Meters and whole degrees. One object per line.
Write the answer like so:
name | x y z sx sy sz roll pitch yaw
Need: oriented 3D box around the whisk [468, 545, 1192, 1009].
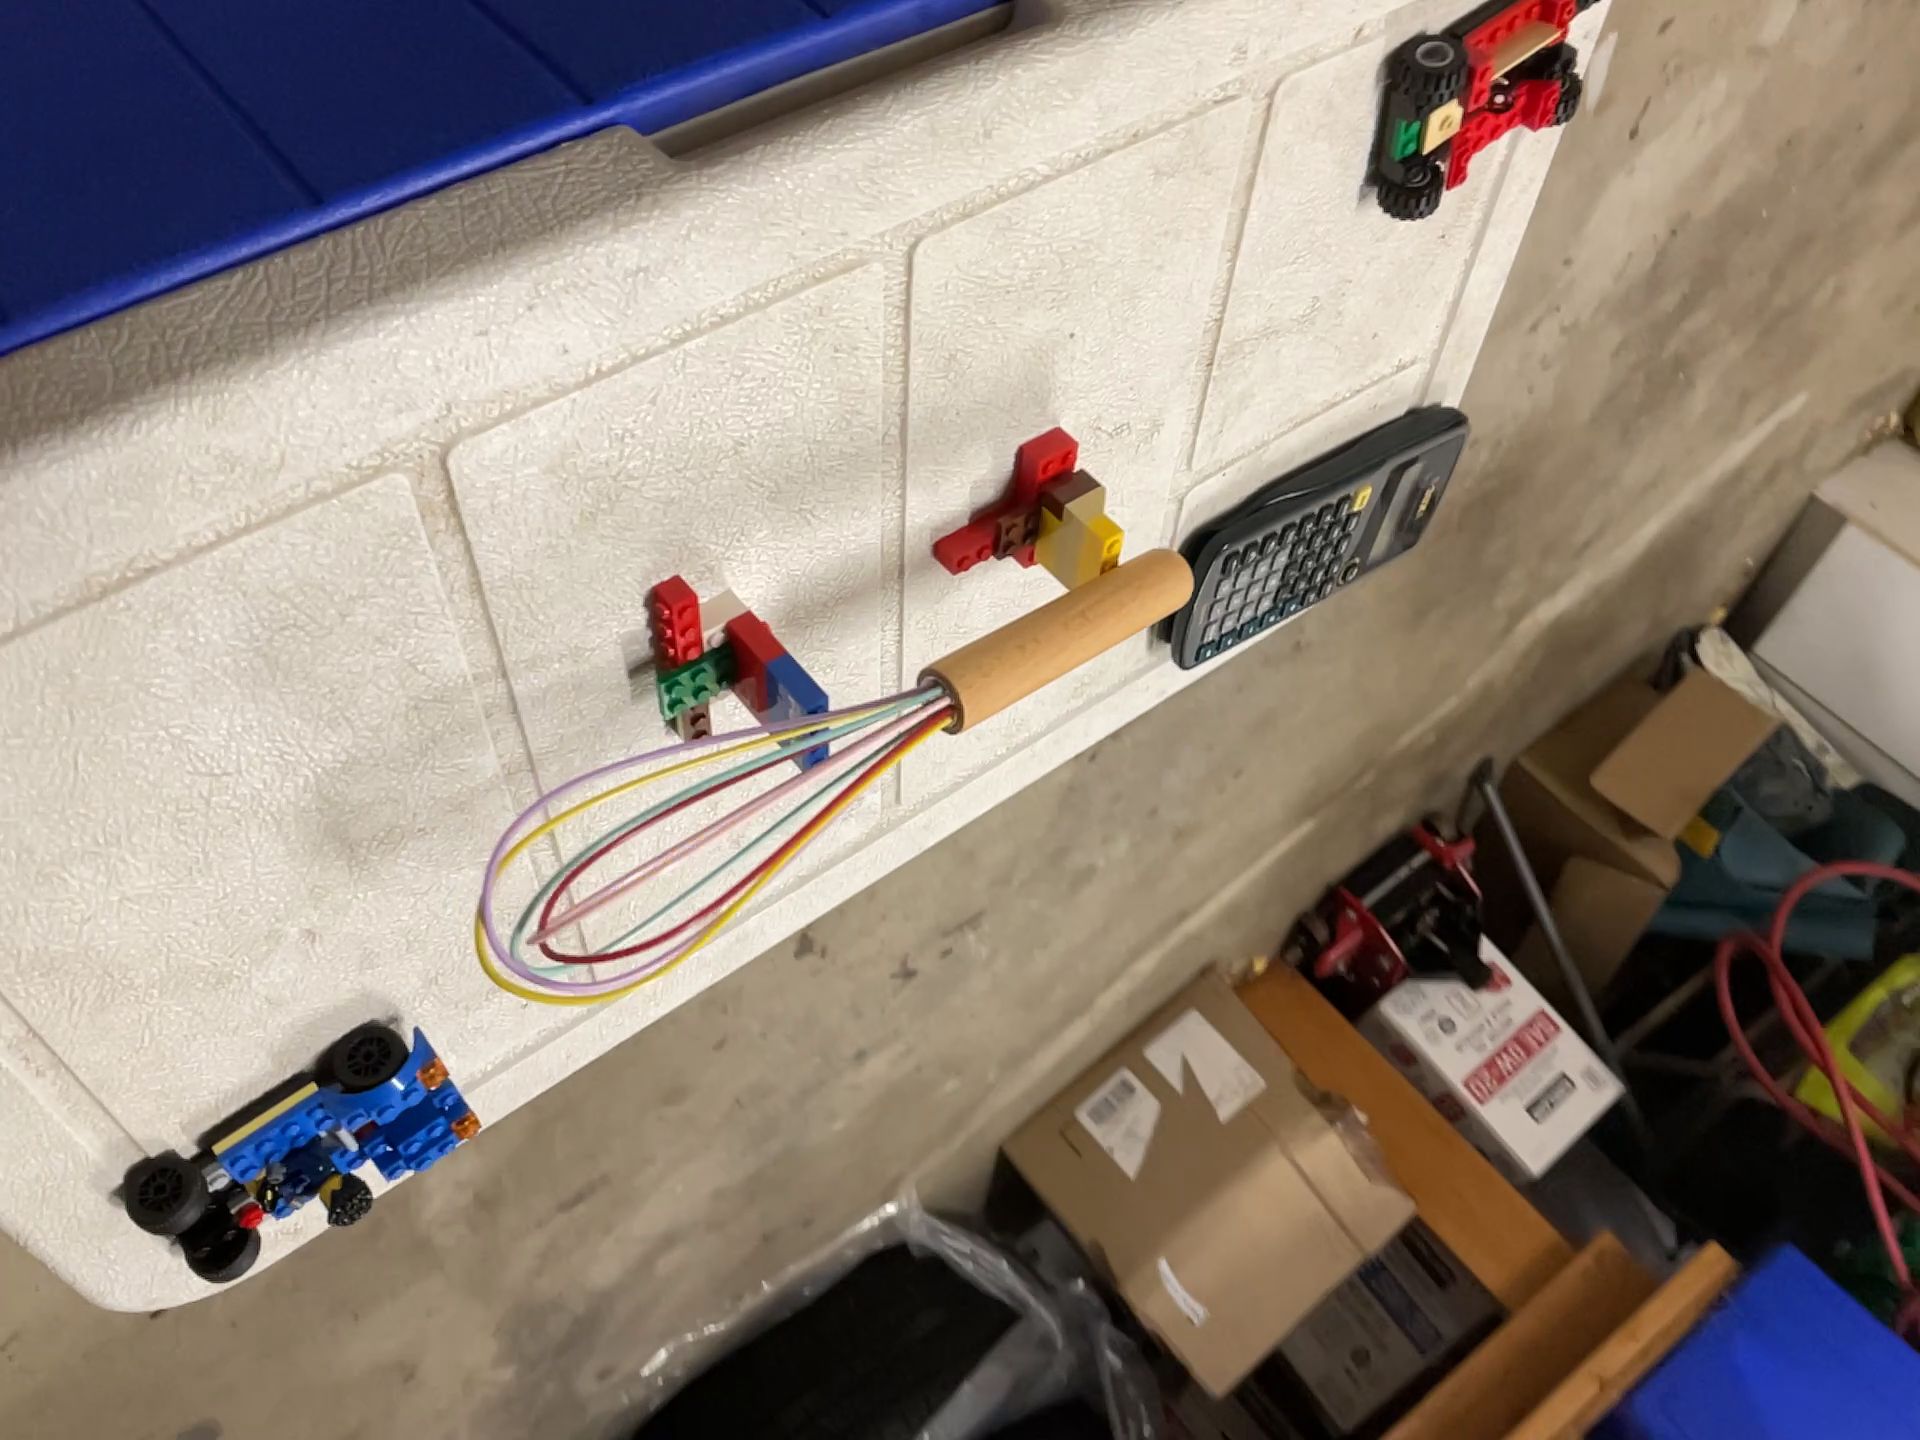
whisk | -0.021 0.008 0.437 0.245 0.047 0.051 -30 137 -32
